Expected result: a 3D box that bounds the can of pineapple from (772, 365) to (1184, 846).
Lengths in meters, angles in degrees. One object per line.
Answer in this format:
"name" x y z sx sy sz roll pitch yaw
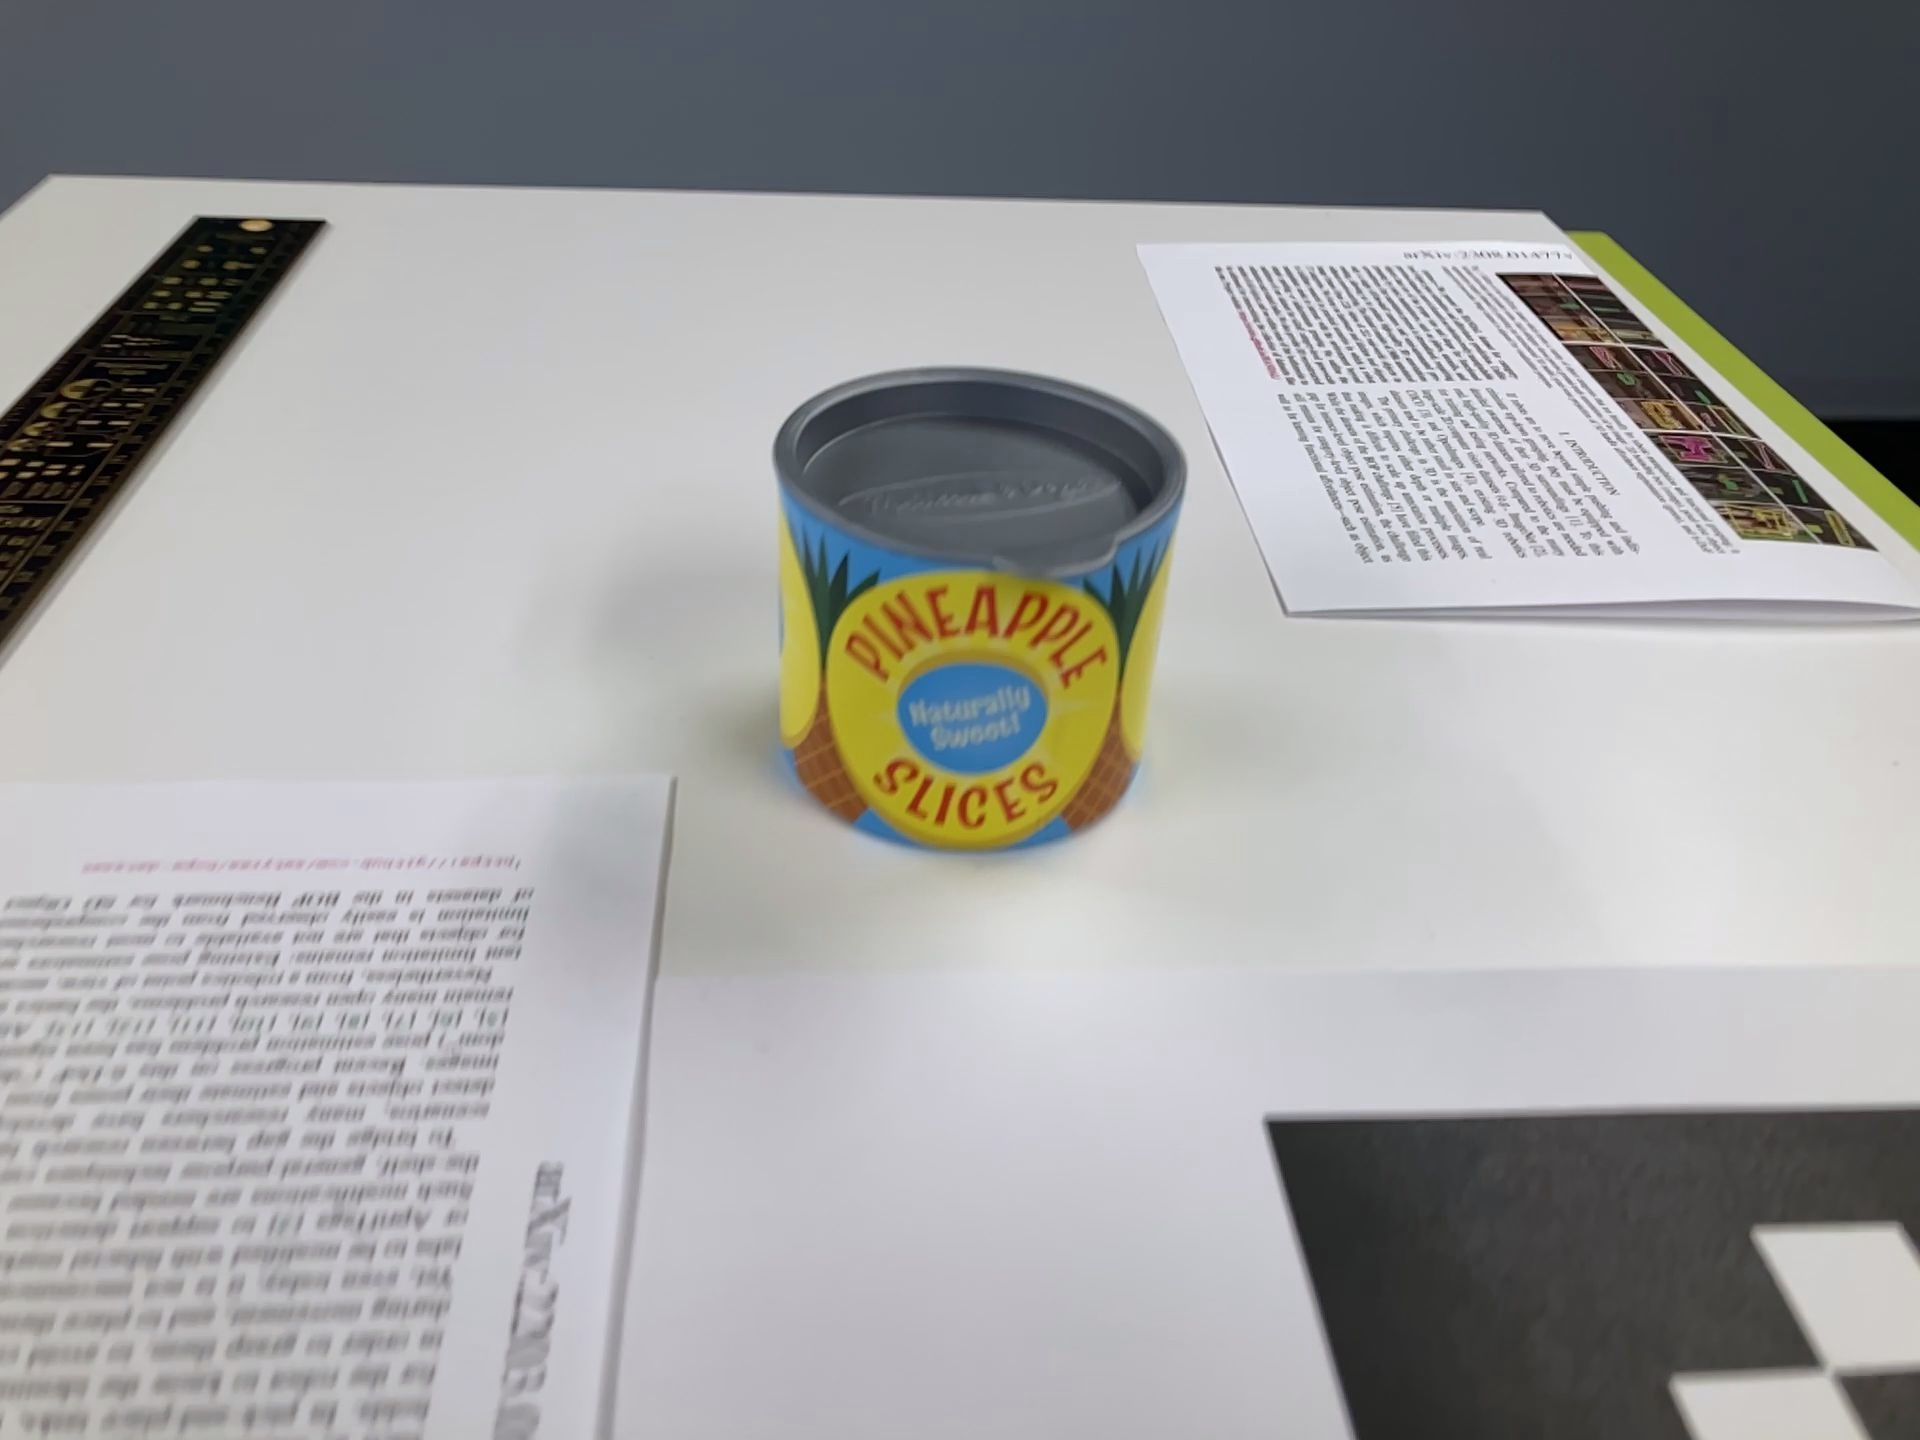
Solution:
"can of pineapple" 0.002 -0.019 0.269 0.071 0.058 0.071 2 36 -1
